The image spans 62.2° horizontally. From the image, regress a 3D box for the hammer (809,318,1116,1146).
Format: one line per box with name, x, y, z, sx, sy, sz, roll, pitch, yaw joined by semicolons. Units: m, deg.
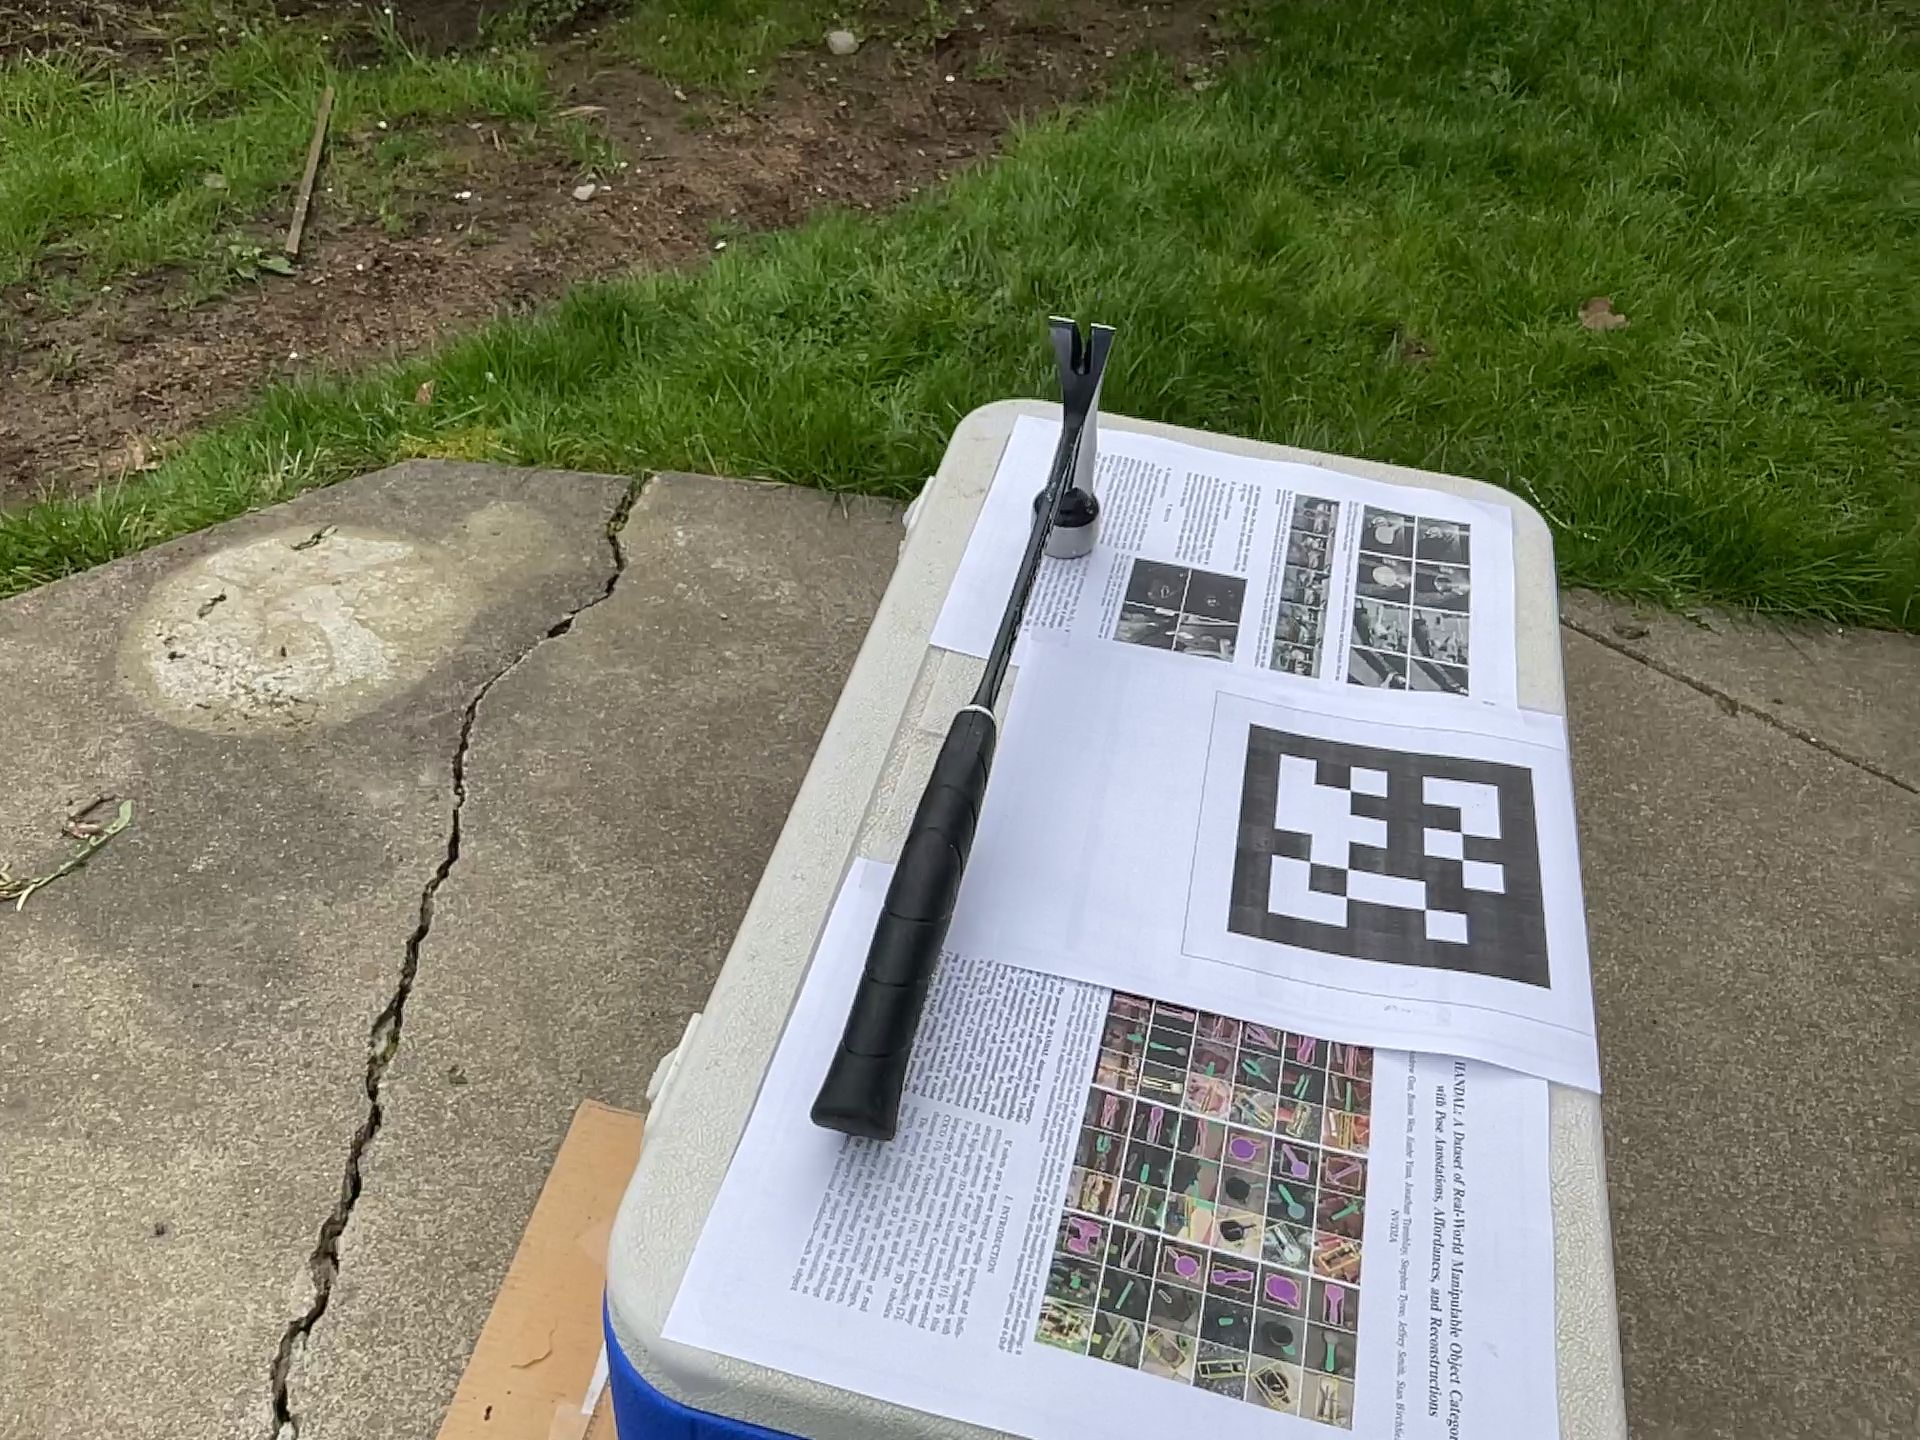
hammer;0.011;-0.008;0.669;0.036;0.149;0.409;12;50;8
